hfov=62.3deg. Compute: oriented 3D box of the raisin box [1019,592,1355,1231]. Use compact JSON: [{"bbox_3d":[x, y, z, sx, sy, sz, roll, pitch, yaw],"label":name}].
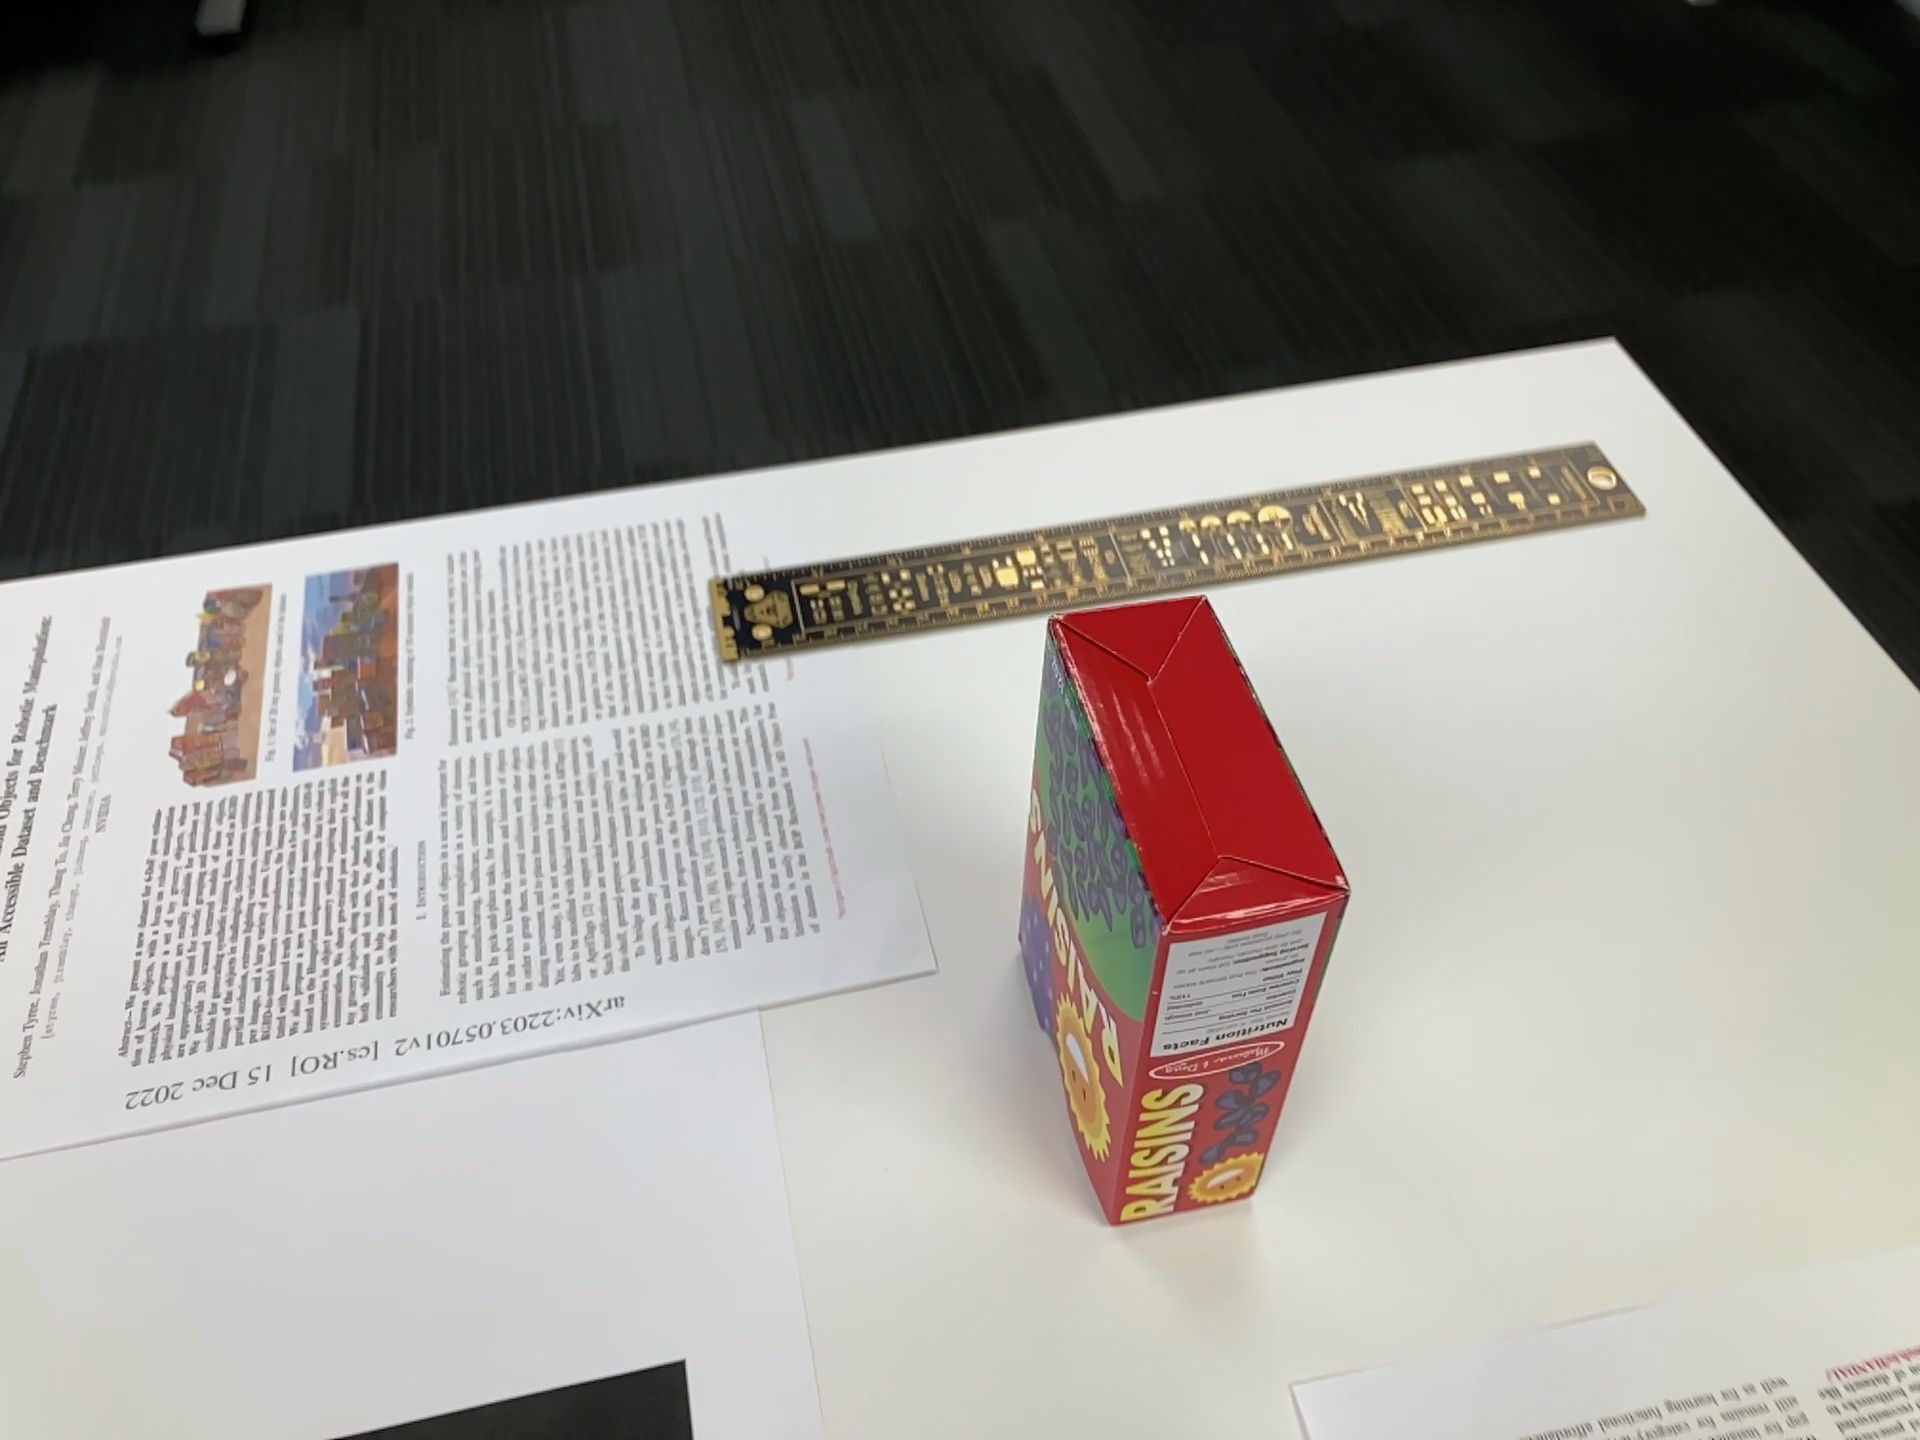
[{"bbox_3d":[0.044,0.046,0.358,0.040,0.123,0.086,-9,49,-10],"label":"raisin box"}]
